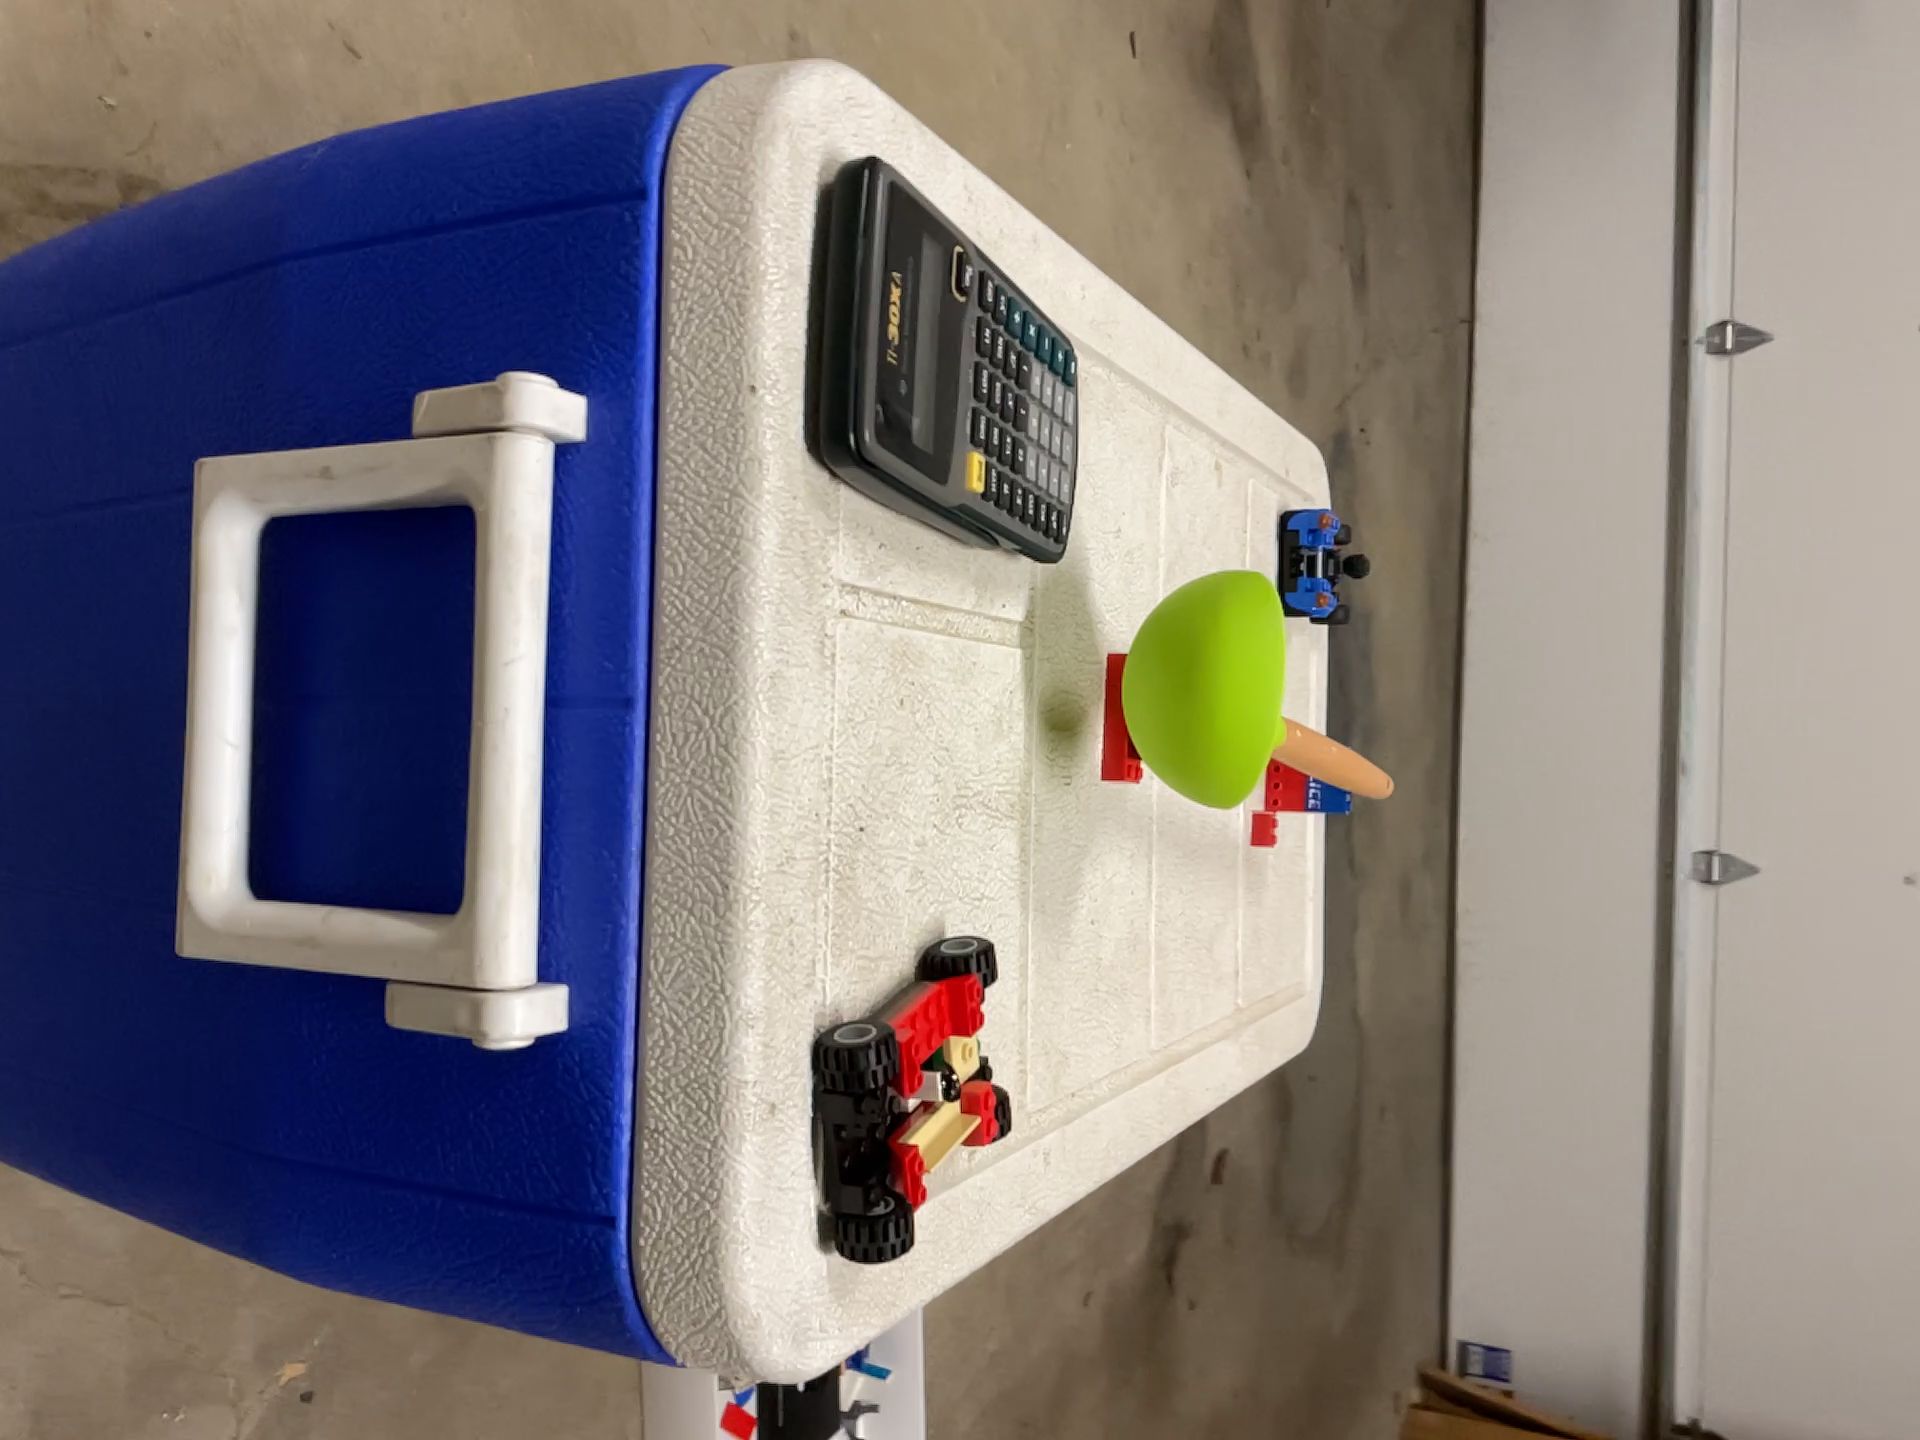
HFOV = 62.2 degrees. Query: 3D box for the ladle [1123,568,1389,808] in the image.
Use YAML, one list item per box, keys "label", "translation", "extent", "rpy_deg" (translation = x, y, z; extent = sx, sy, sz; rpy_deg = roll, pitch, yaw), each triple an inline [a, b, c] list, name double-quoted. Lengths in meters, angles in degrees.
- label: "ladle"
  translation: [0.140, 0.008, 0.629]
  extent: [0.320, 0.062, 0.078]
  rpy_deg: [19, 73, -61]
